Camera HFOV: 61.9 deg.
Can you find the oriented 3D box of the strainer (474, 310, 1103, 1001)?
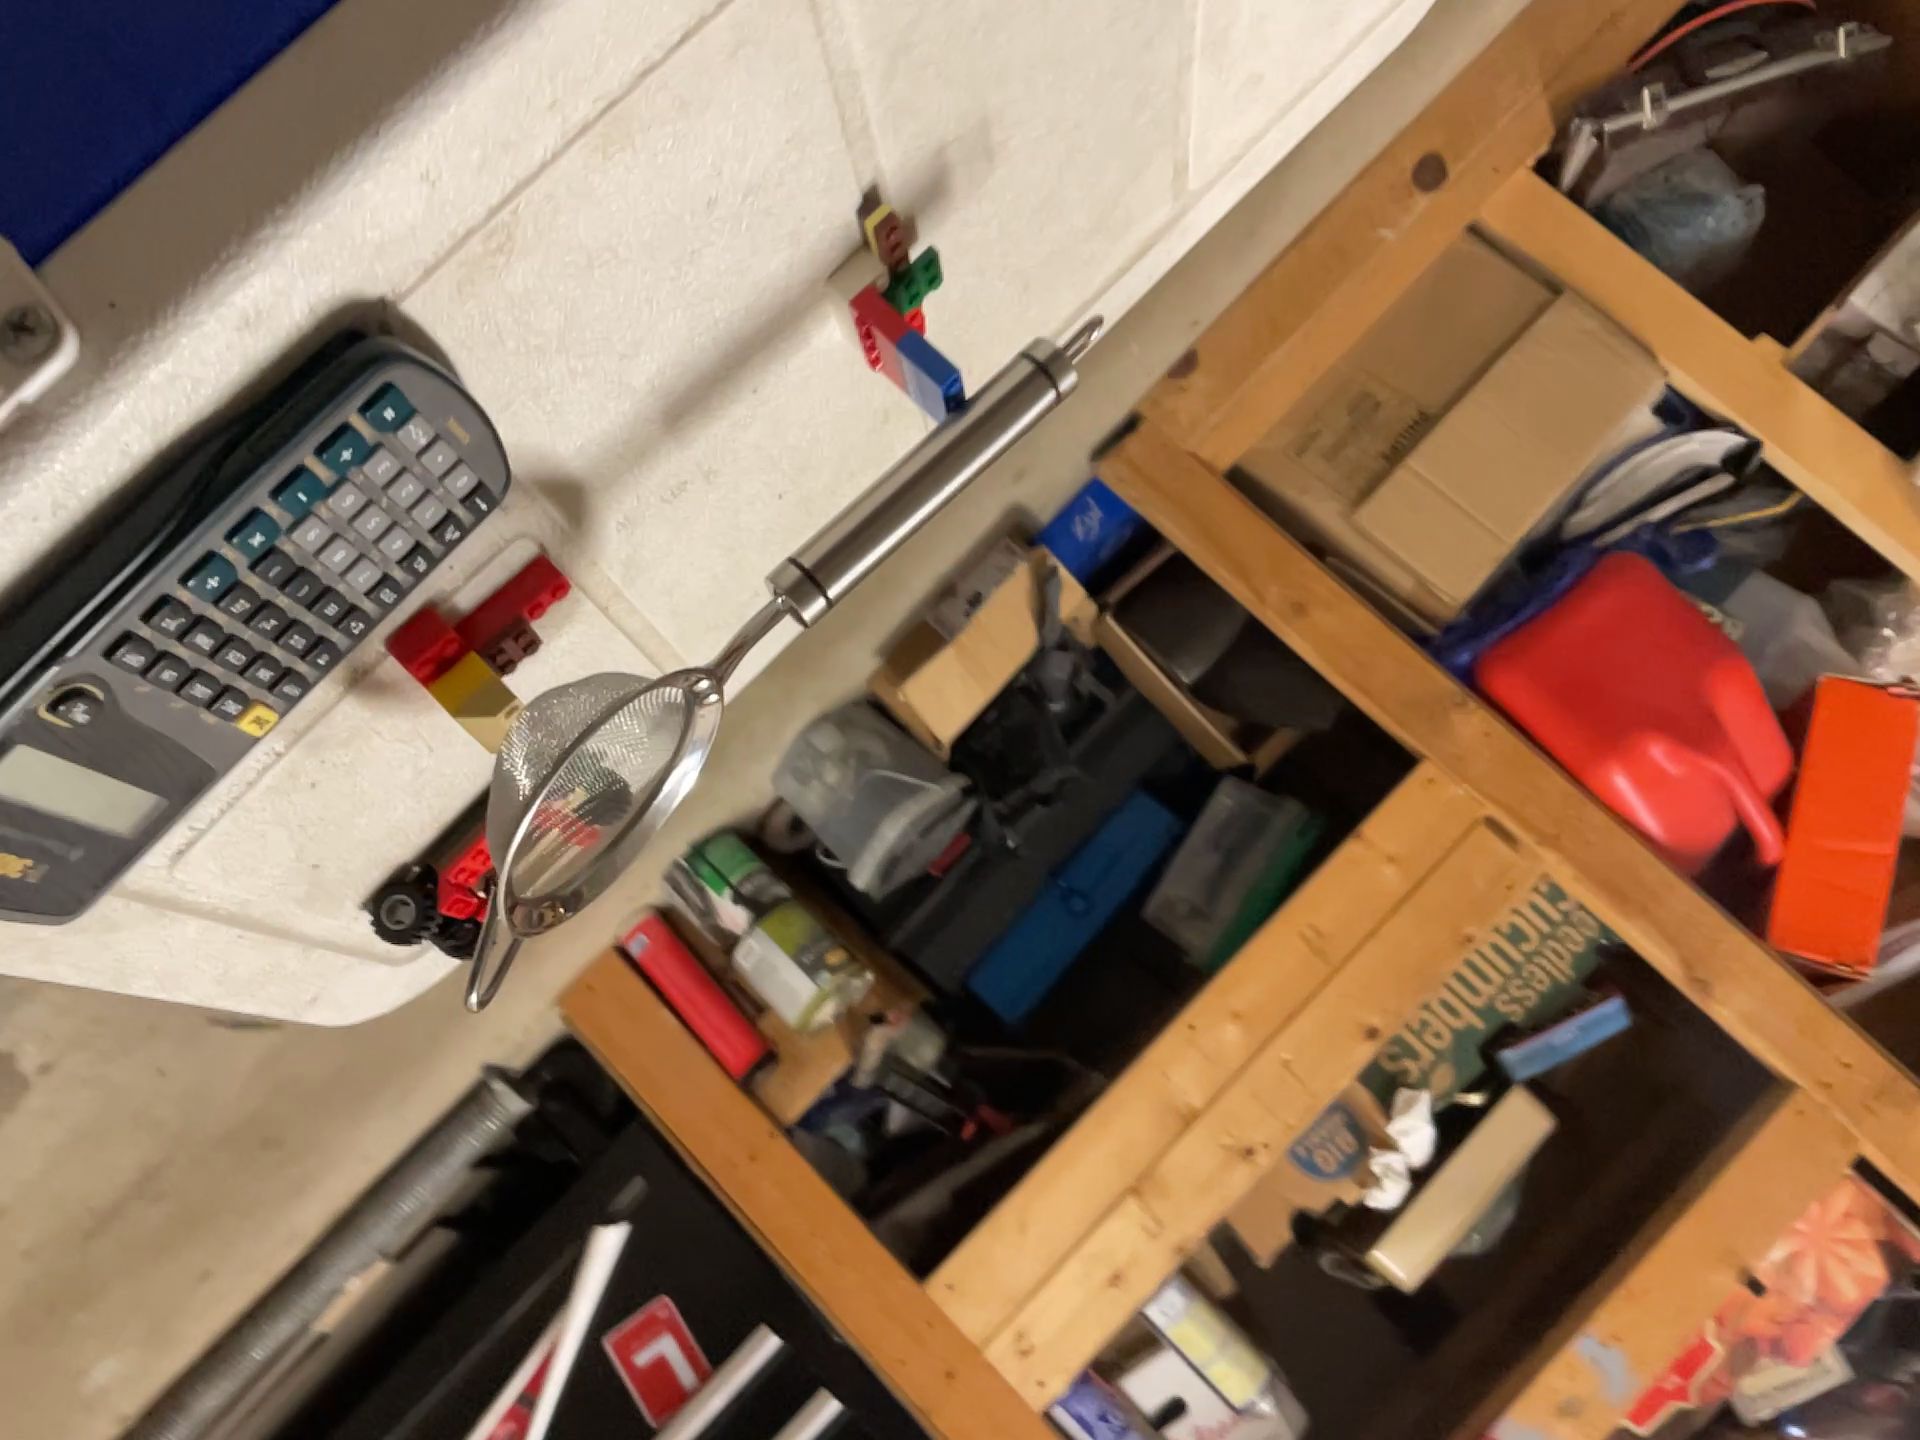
[{"bbox_3d":[-0.051,-0.031,0.446,0.258,0.050,0.086,-44,167,-12],"label":"strainer"}]
